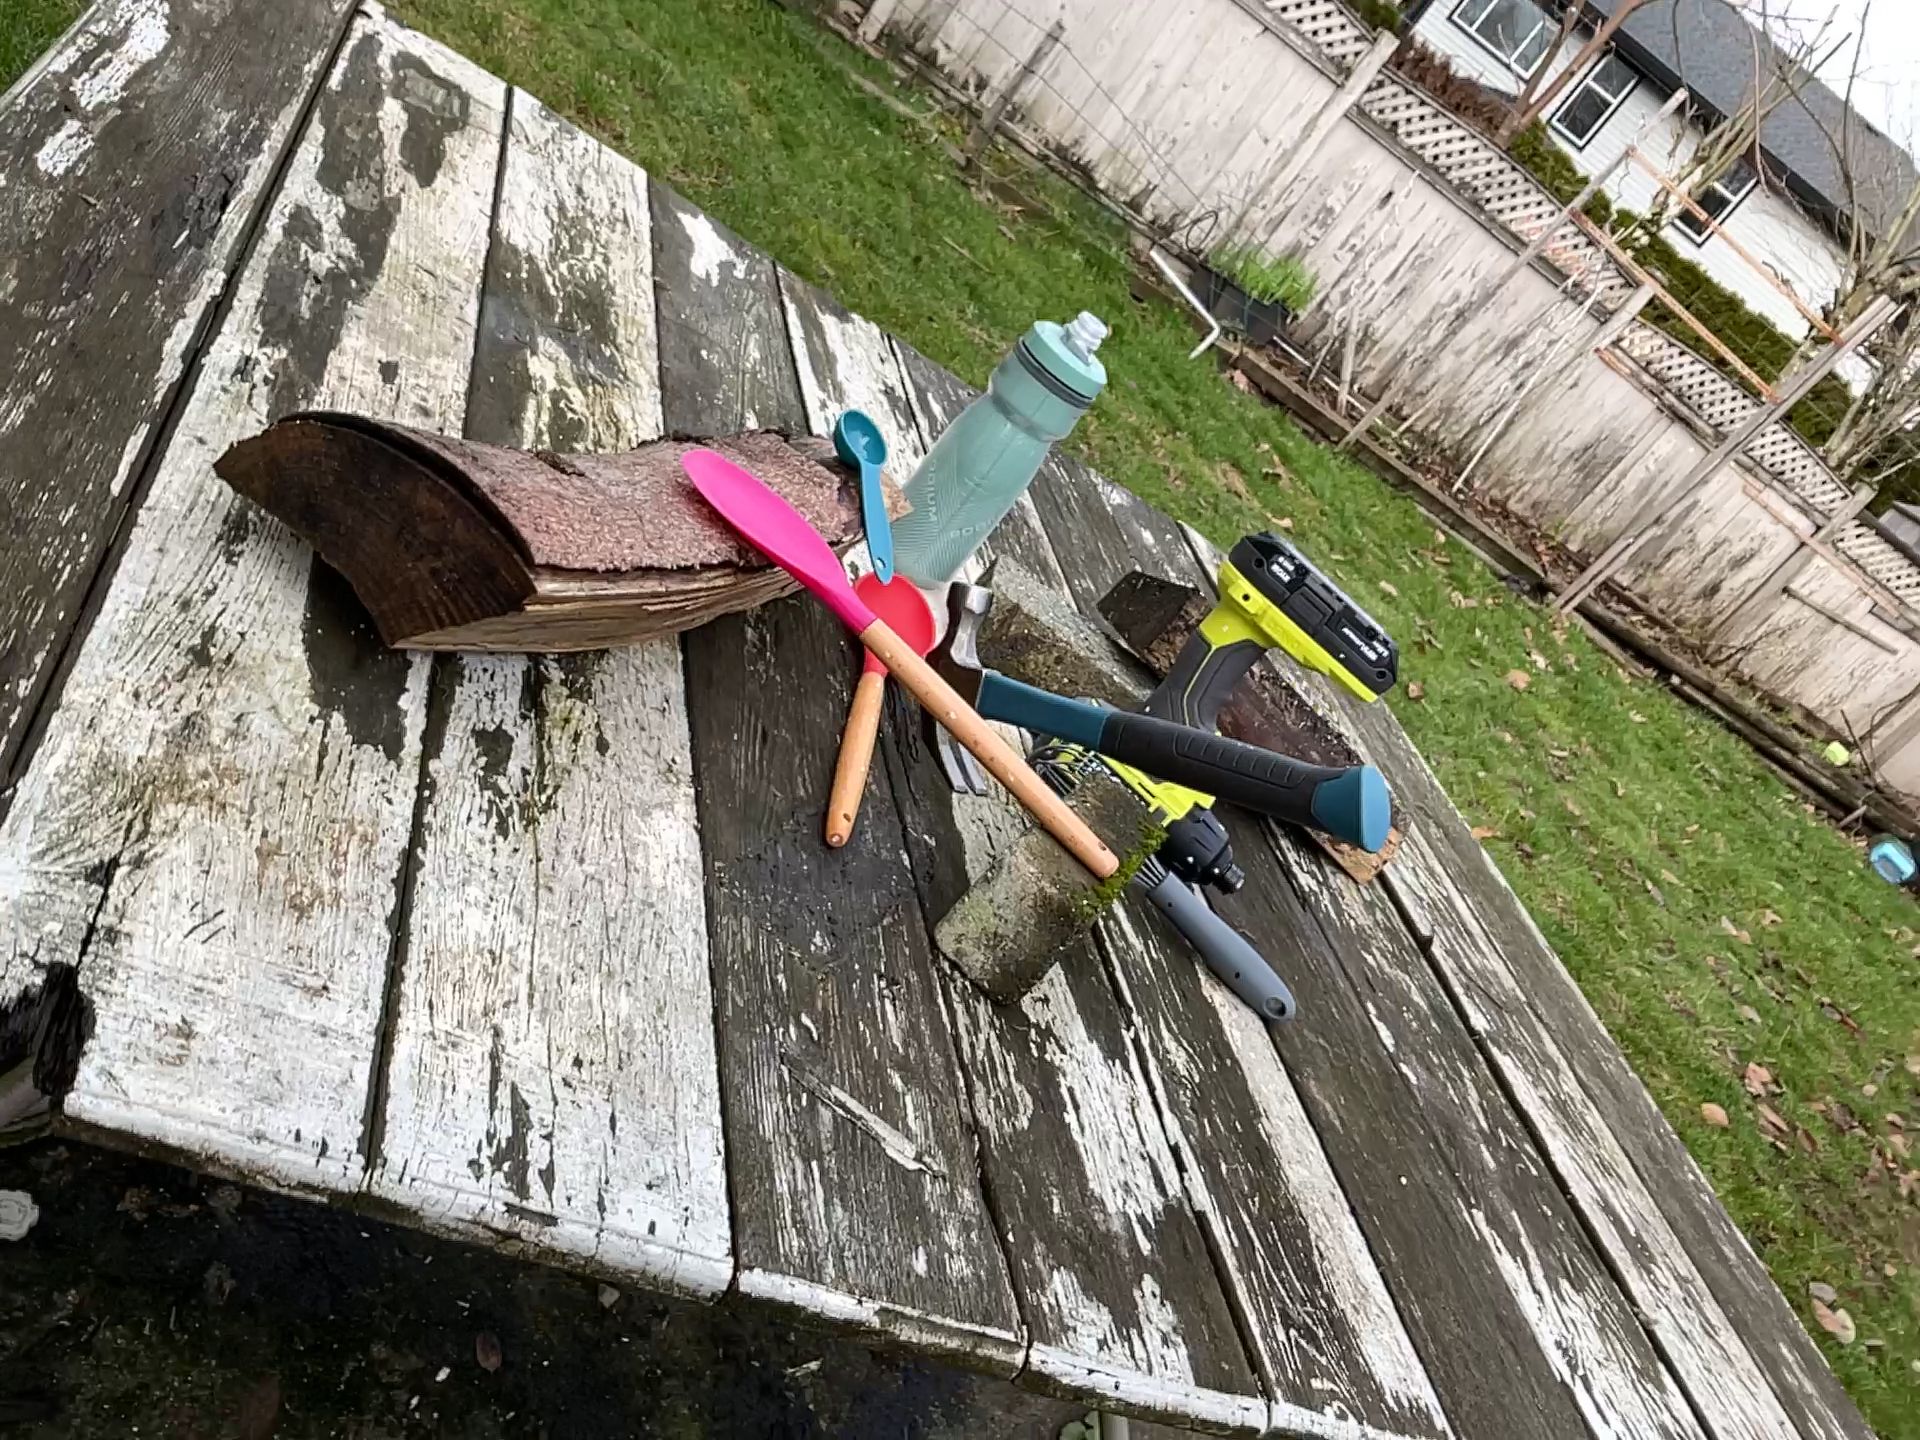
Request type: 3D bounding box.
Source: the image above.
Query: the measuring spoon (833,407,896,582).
[{"bbox_3d":[-0.061,-0.141,1.013,0.042,0.021,0.129,16,55,-45],"label":"measuring spoon"}]

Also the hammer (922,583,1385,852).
[{"bbox_3d":[0.100,0.010,0.935,0.331,0.128,0.033,18,6,42],"label":"hammer"}]

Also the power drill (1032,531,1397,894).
[{"bbox_3d":[0.182,-0.002,1.085,0.171,0.223,0.080,43,16,1],"label":"power drill"}]

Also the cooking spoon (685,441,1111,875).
[{"bbox_3d":[-0.033,-0.034,0.858,0.319,0.017,0.069,46,23,1],"label":"cooking spoon"}]

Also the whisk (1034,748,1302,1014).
[{"bbox_3d":[0.134,0.105,1.031,0.239,0.055,0.055,44,31,-1],"label":"whisk"}]

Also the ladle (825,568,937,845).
[{"bbox_3d":[-0.055,-0.014,0.993,0.069,0.031,0.316,37,26,-15],"label":"ladle"}]
